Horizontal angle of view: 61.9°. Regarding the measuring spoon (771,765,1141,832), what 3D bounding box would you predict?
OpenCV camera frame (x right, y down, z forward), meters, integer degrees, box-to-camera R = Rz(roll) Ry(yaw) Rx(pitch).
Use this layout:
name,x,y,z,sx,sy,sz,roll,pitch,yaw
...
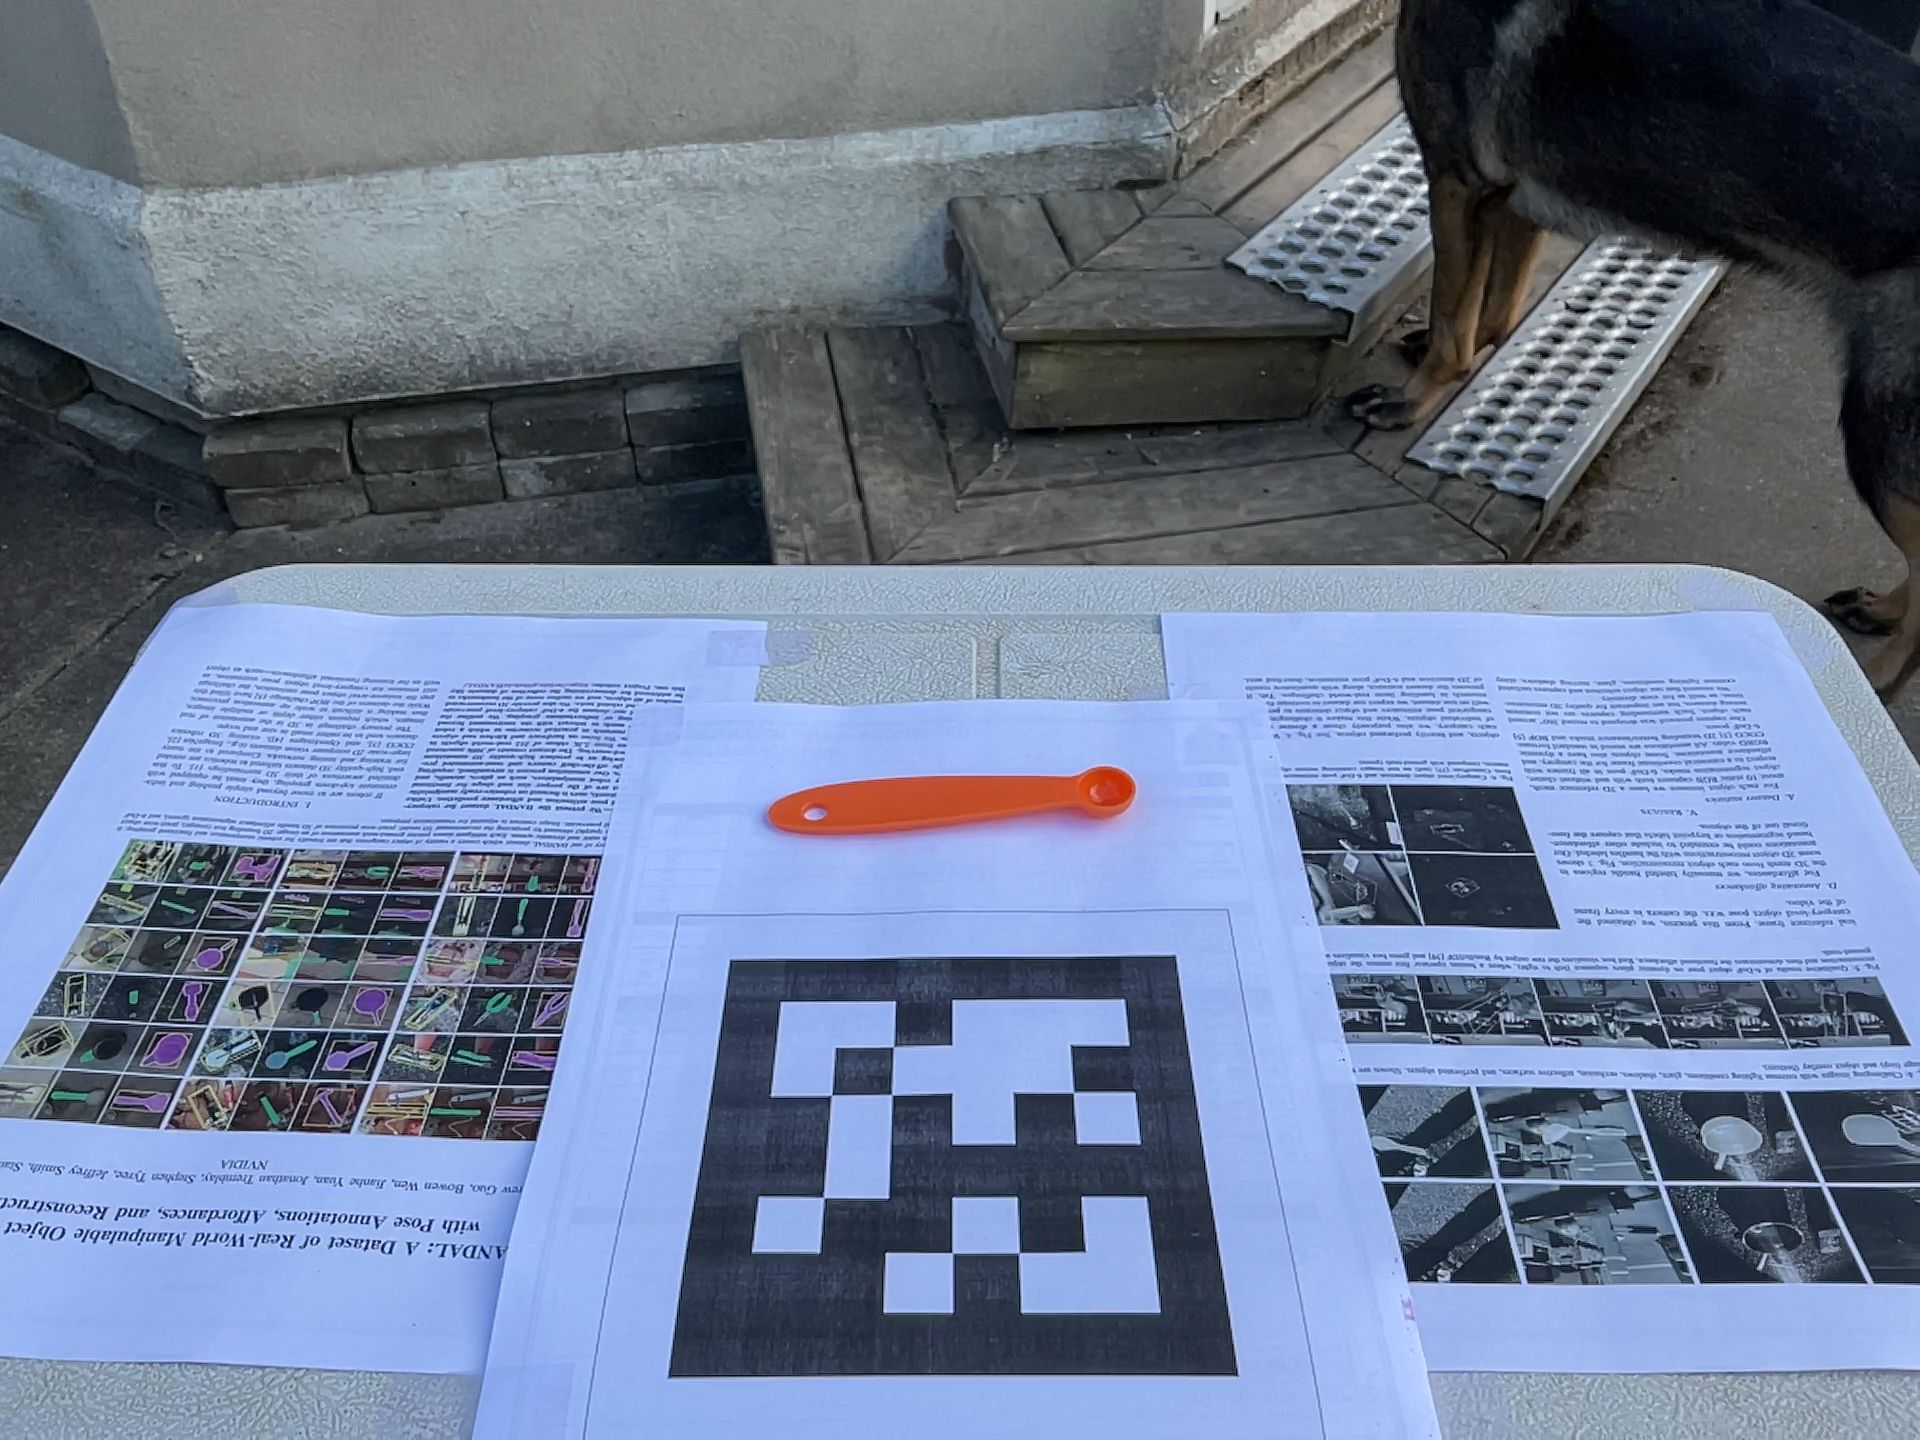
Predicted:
name,x,y,z,sx,sy,sz,roll,pitch,yaw
measuring spoon,-0.001,0.027,0.506,0.117,0.011,0.021,-4,42,1
